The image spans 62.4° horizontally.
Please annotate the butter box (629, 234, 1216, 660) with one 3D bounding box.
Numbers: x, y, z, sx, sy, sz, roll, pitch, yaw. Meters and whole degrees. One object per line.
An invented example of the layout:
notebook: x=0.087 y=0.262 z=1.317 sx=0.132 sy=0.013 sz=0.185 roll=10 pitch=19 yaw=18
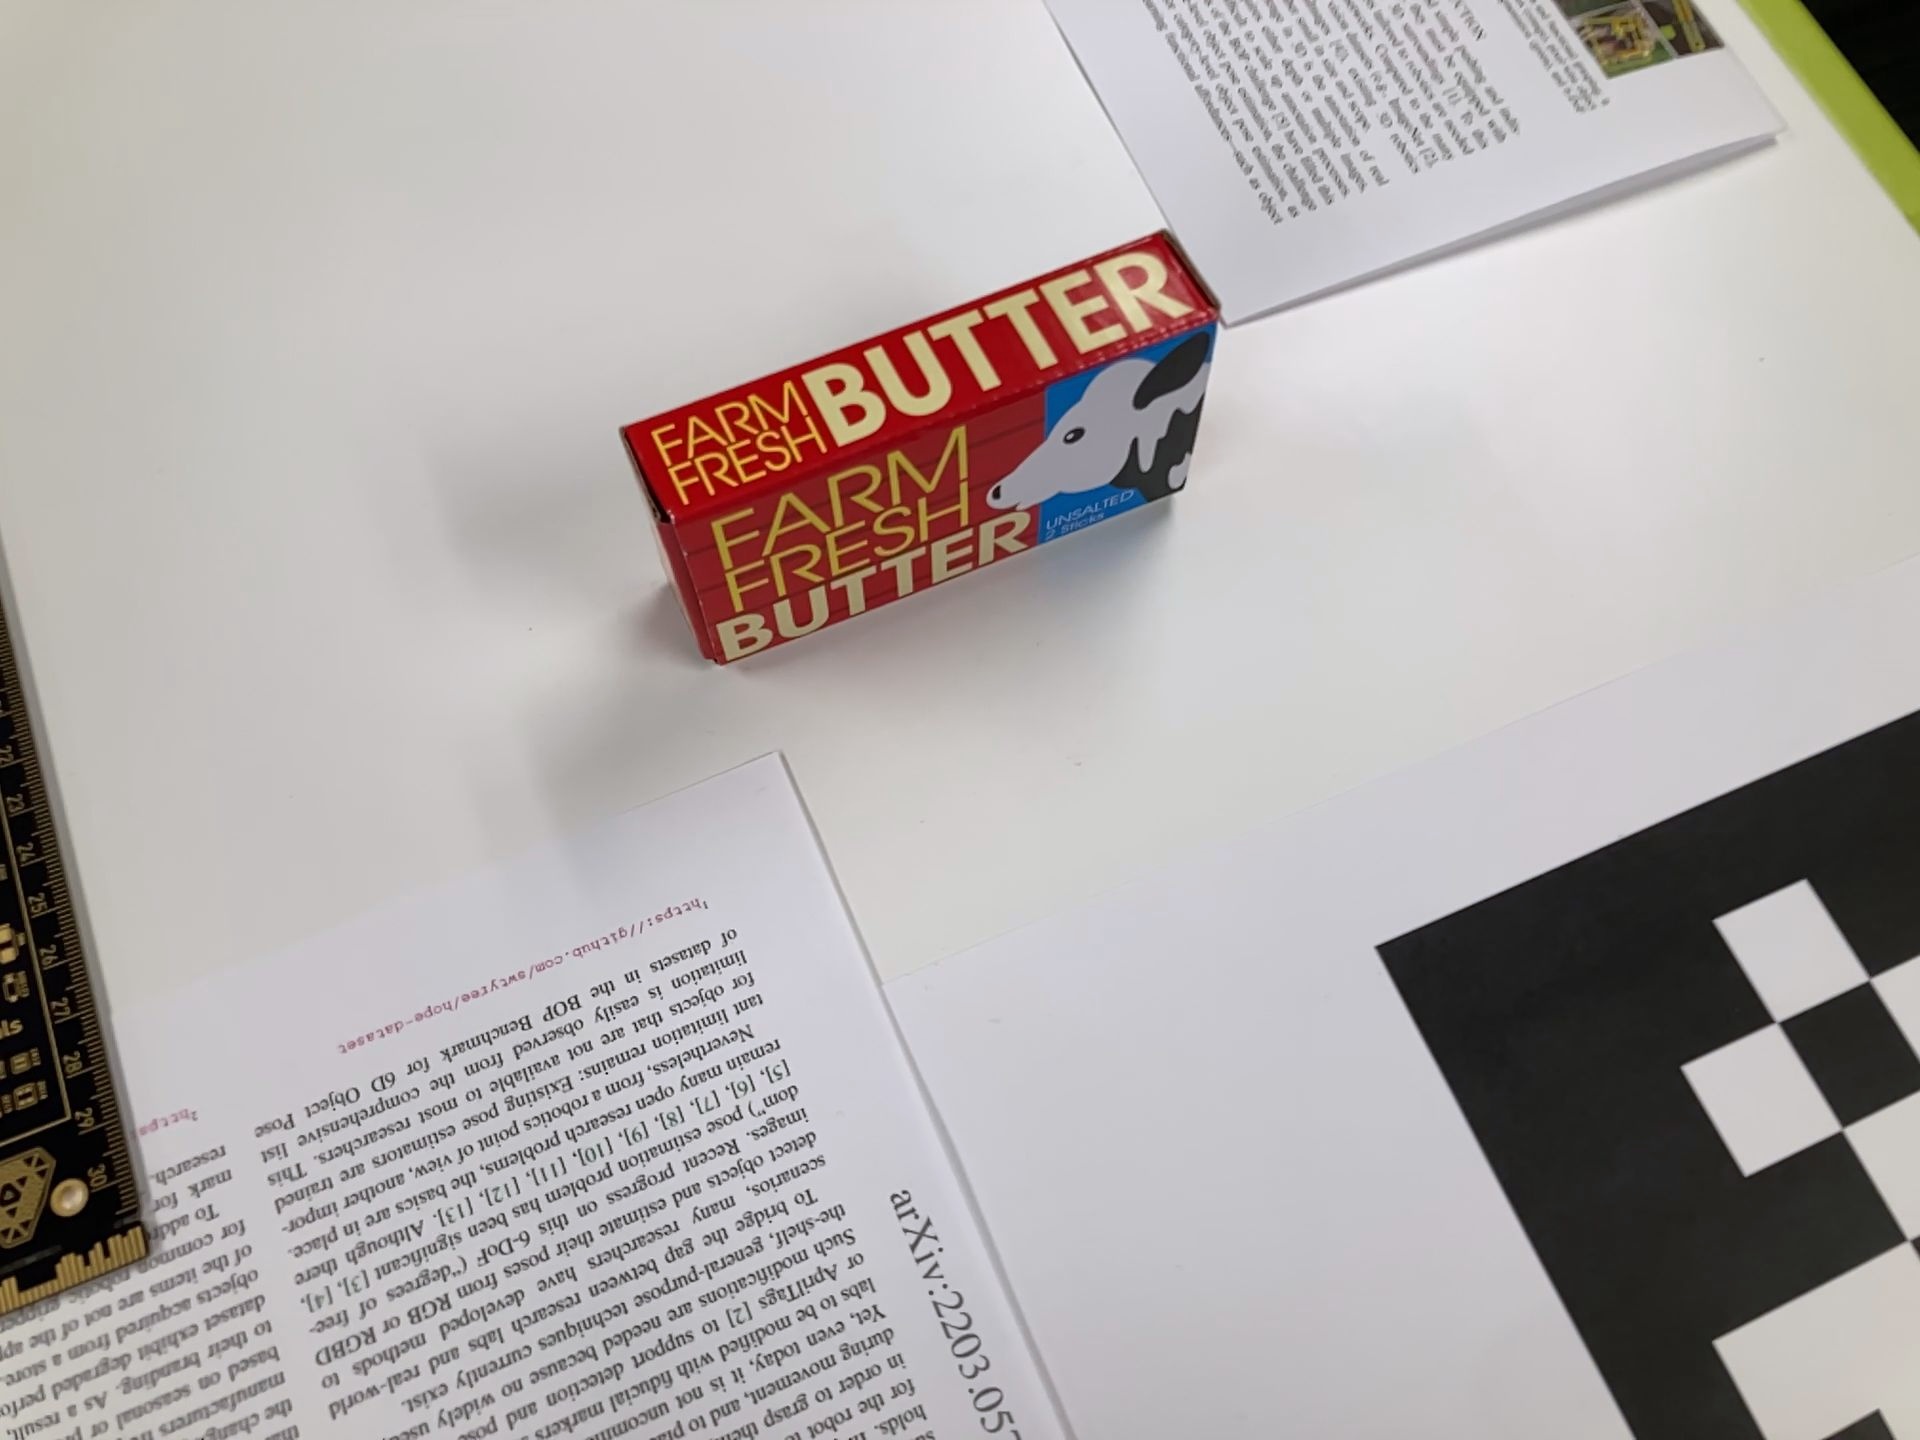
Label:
butter box: x=-0.005 y=-0.049 z=0.294 sx=0.103 sy=0.053 sz=0.024 roll=-21 pitch=66 yaw=-10
